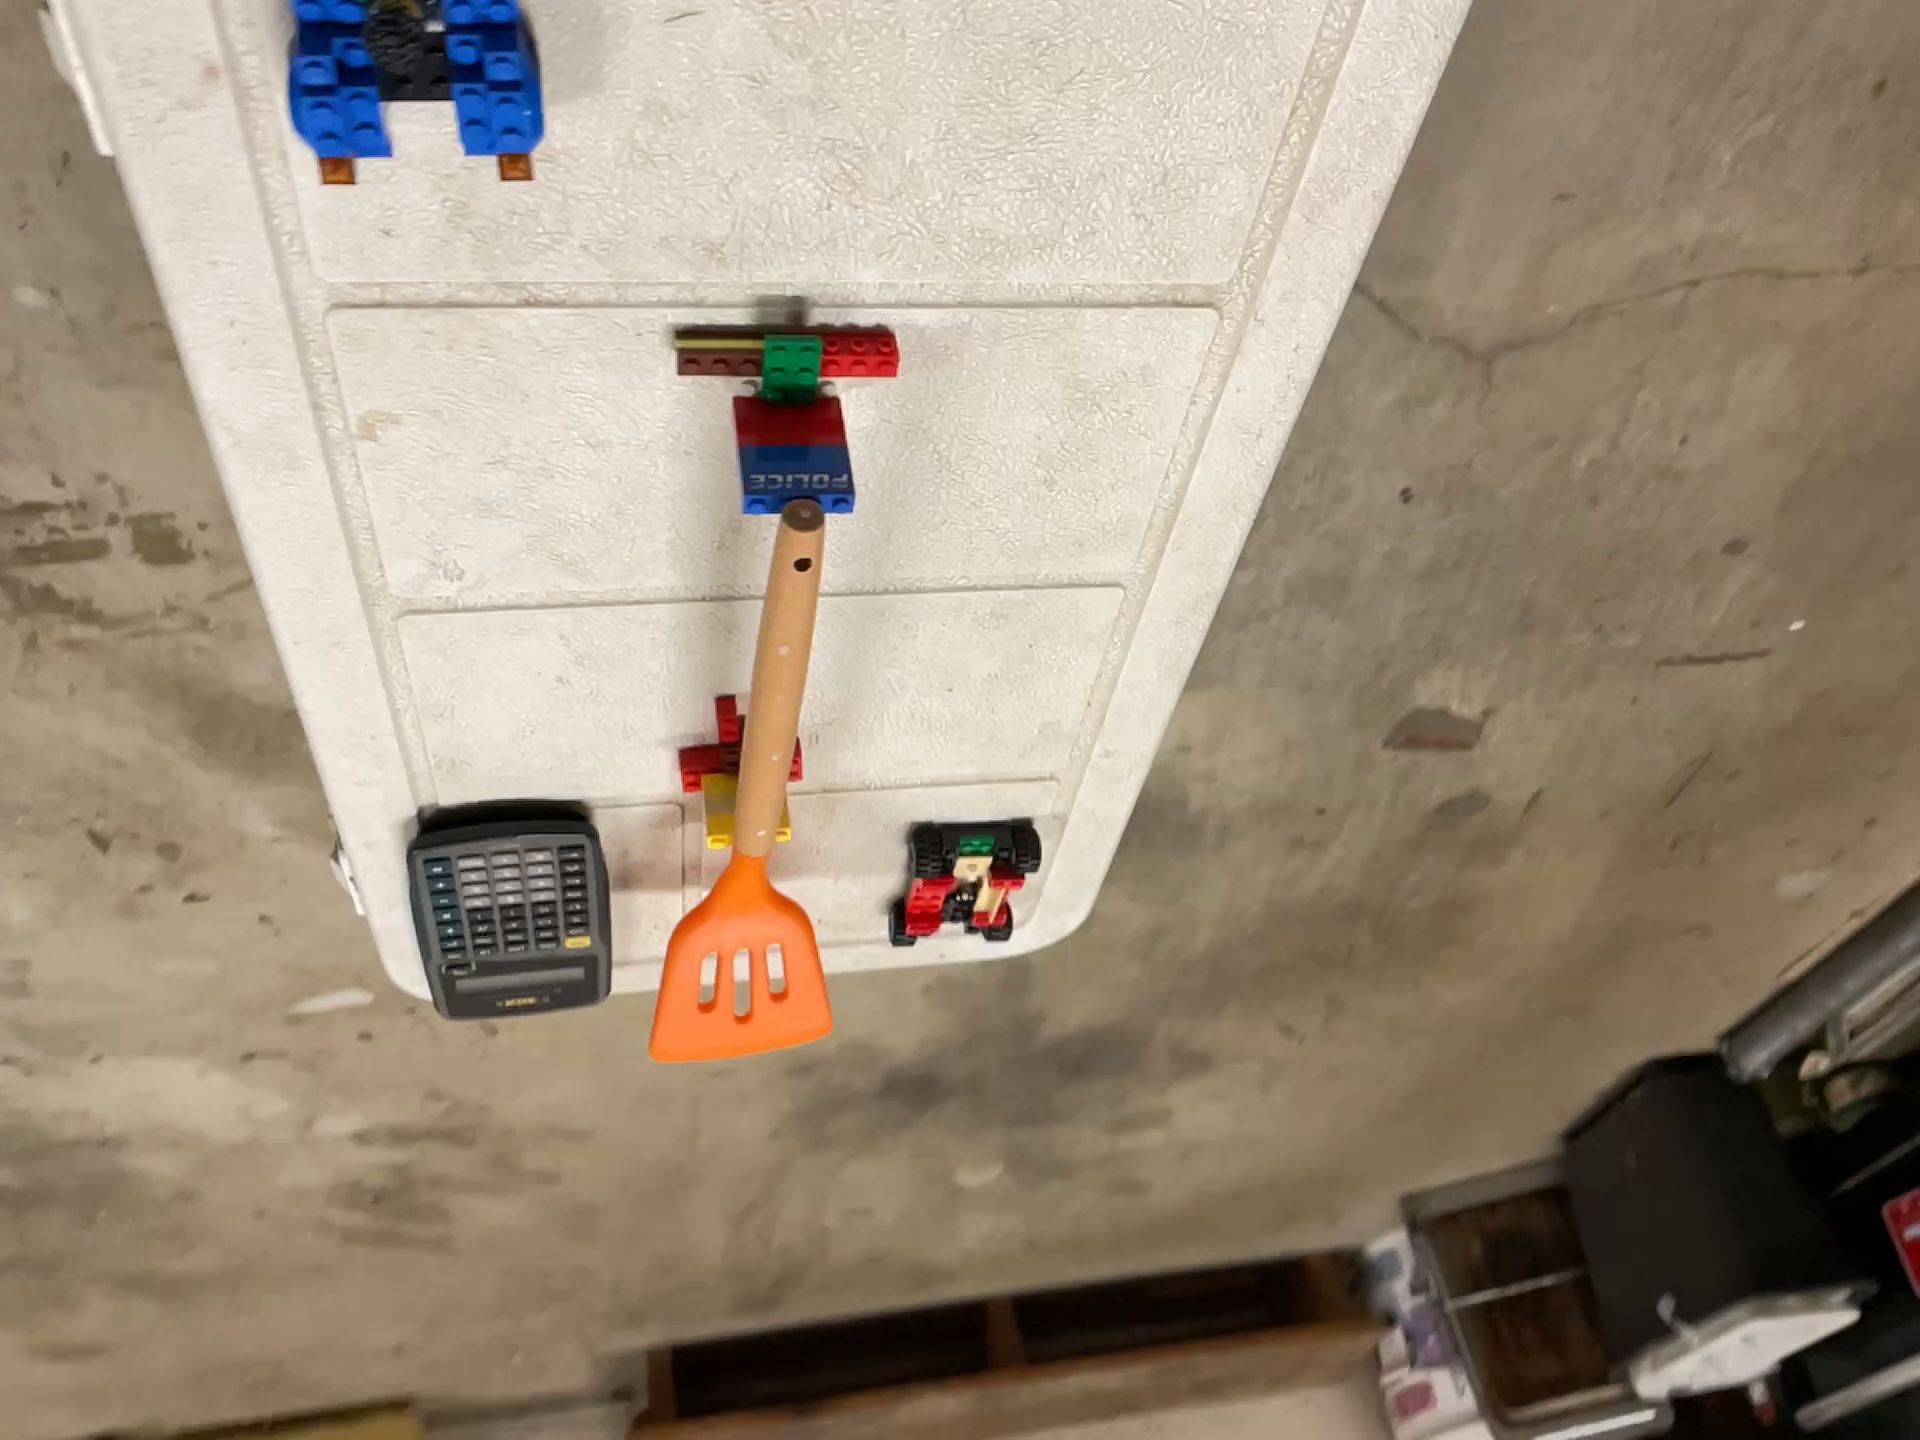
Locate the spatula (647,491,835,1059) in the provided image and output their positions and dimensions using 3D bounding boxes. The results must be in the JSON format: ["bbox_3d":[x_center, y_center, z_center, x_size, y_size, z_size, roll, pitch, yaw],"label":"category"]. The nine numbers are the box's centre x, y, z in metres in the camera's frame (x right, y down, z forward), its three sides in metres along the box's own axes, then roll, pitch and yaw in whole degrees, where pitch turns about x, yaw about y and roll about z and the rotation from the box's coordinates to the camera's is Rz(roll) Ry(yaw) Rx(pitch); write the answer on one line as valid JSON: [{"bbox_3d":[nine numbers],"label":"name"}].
[{"bbox_3d":[-0.070,0.037,0.569,0.081,0.041,0.322,-5,147,-15],"label":"spatula"}]
